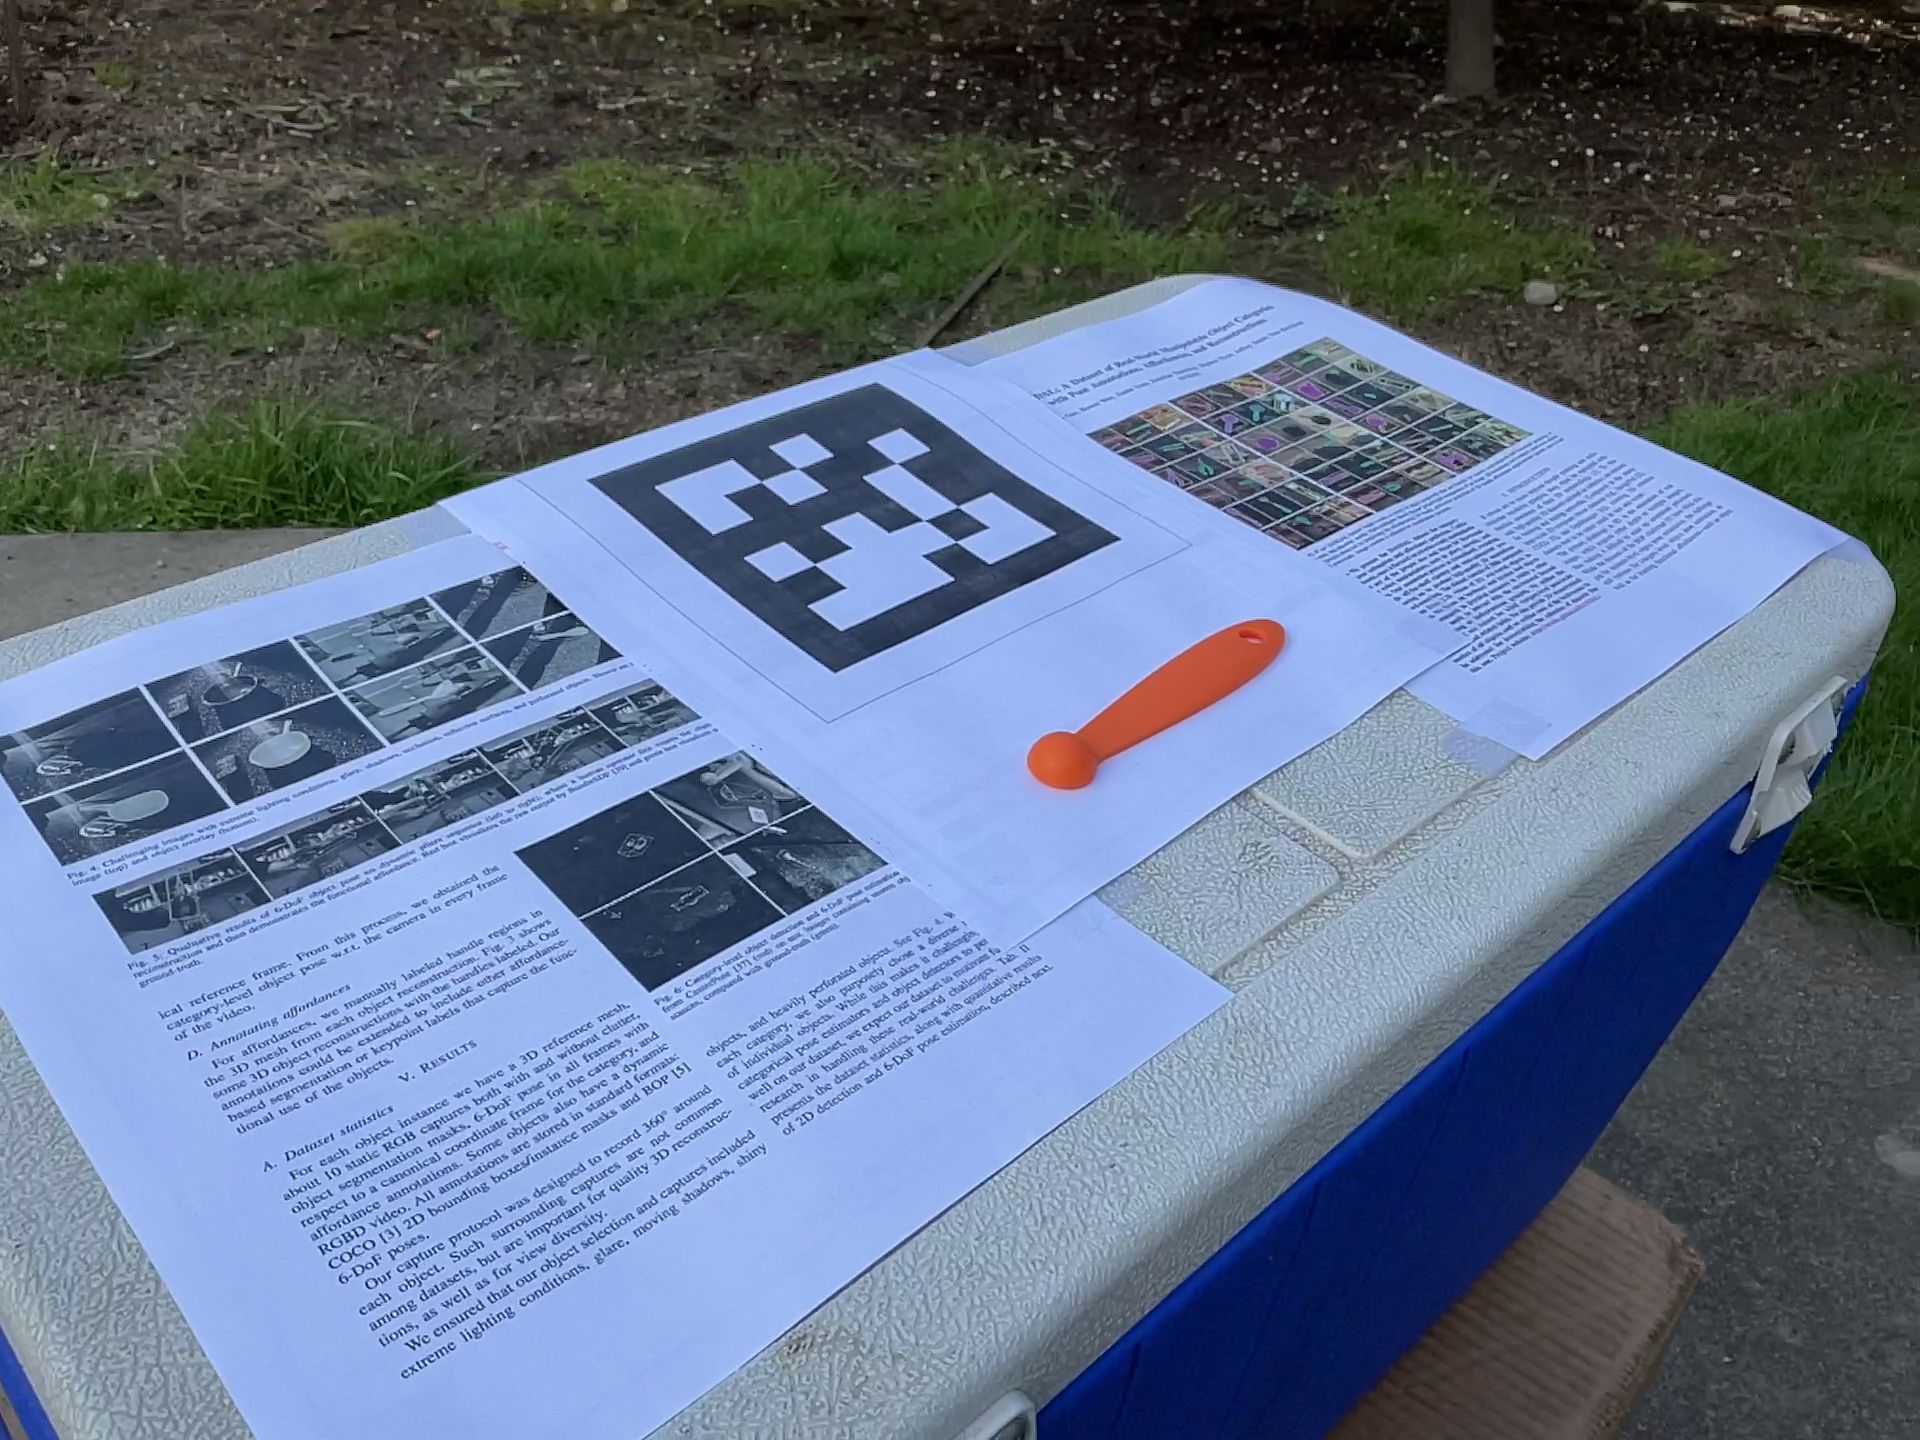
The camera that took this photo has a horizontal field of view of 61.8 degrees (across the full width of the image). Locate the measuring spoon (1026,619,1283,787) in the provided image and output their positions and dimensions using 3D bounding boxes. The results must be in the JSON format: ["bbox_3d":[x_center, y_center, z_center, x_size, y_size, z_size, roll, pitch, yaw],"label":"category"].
[{"bbox_3d":[0.061,-0.010,0.472,0.021,0.011,0.117,37,45,26],"label":"measuring spoon"}]
